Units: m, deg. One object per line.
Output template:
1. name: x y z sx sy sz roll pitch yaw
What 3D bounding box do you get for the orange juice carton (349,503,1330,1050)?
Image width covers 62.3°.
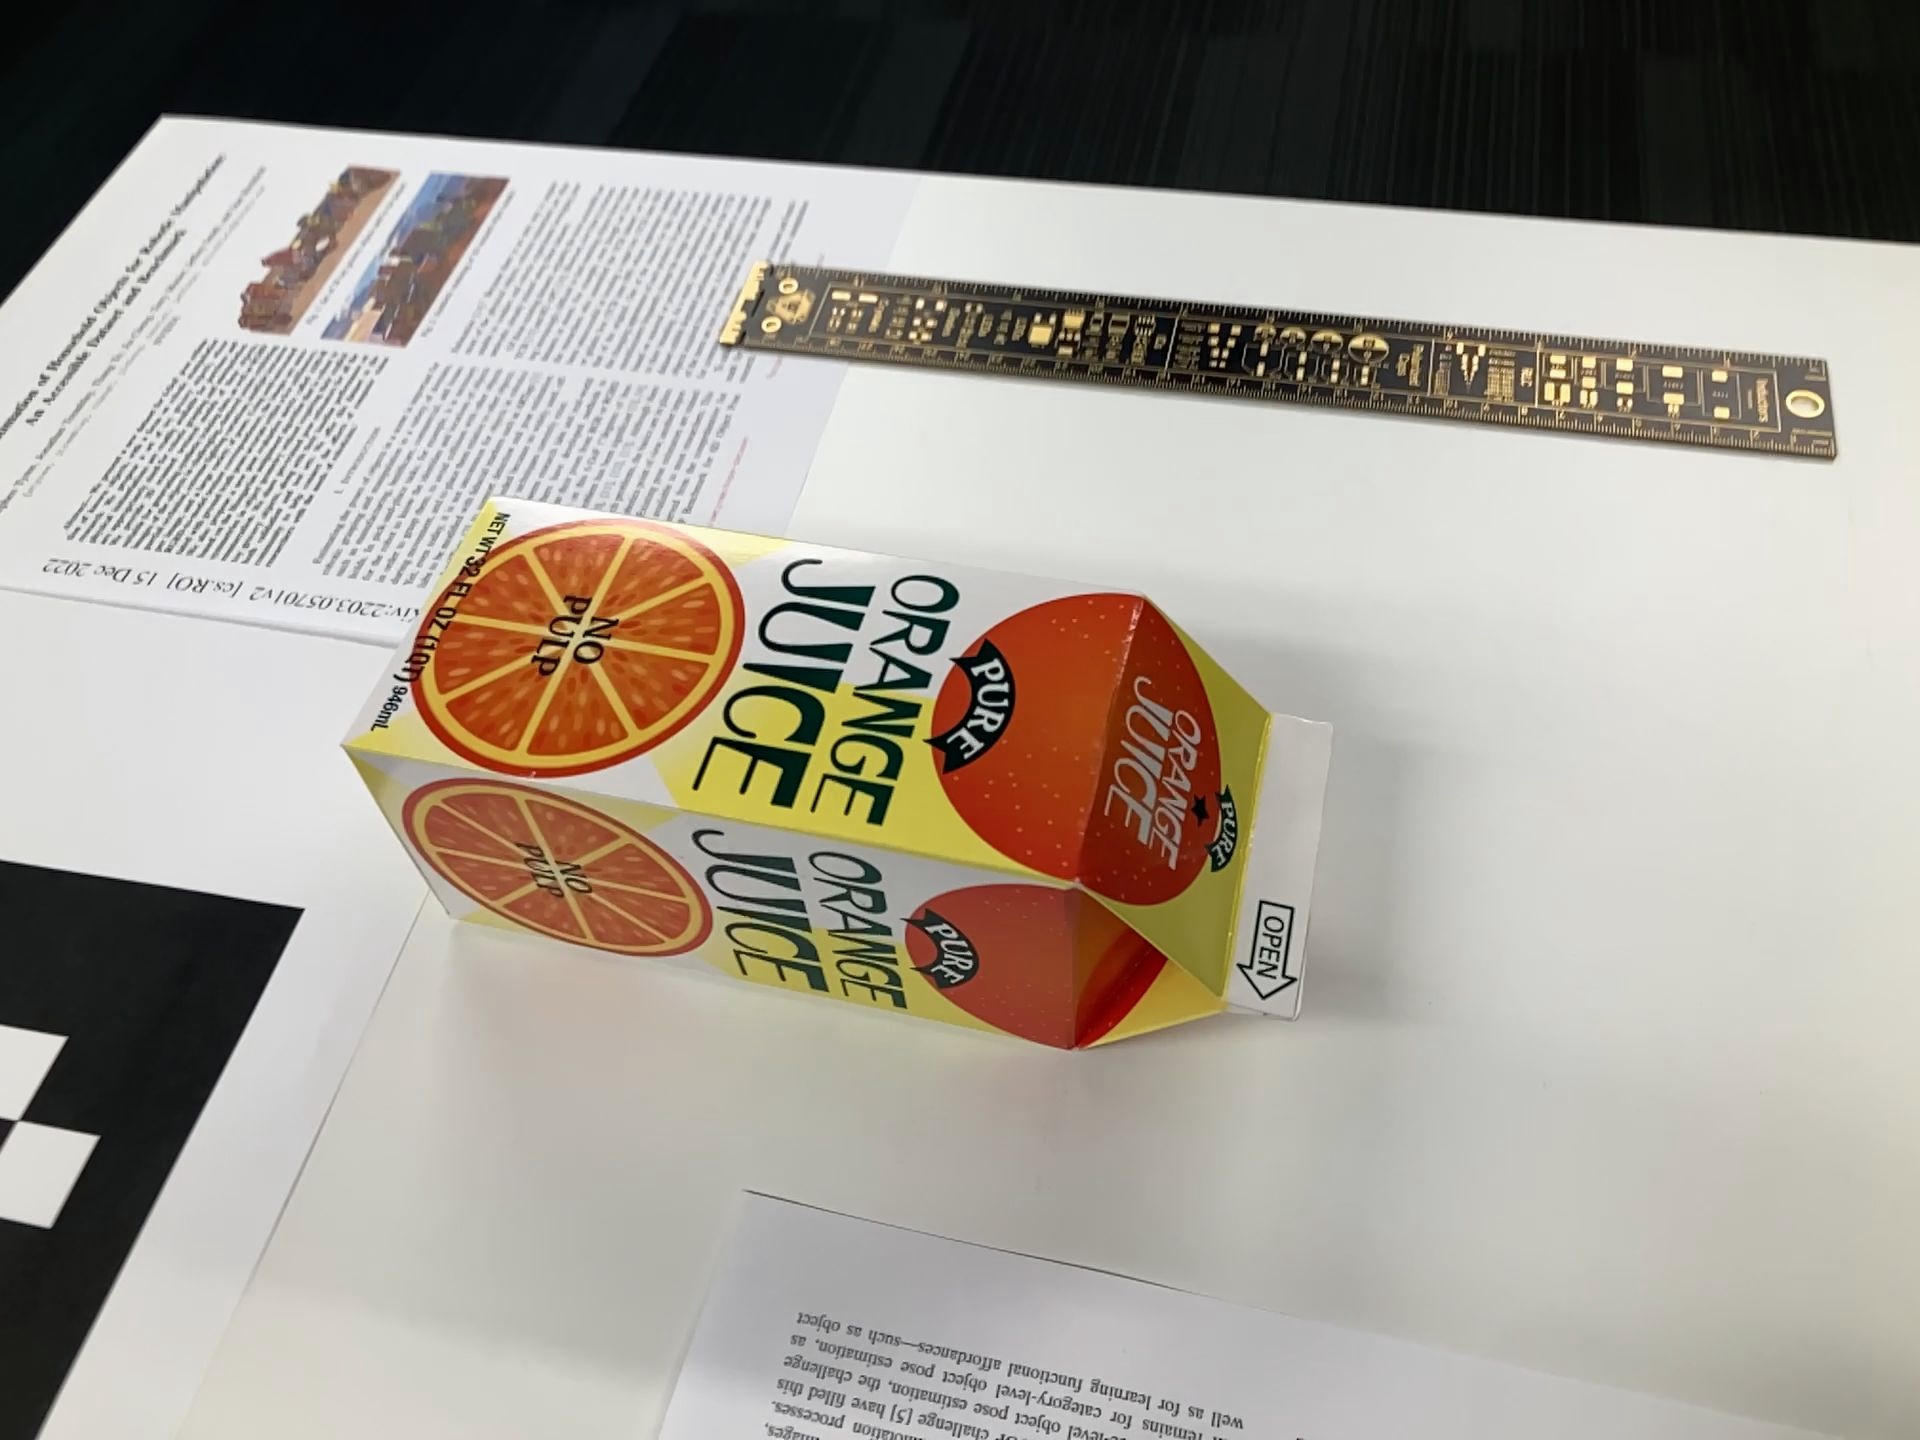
1. orange juice carton: -0.020 0.014 0.344 0.192 0.073 0.072 9 55 12
